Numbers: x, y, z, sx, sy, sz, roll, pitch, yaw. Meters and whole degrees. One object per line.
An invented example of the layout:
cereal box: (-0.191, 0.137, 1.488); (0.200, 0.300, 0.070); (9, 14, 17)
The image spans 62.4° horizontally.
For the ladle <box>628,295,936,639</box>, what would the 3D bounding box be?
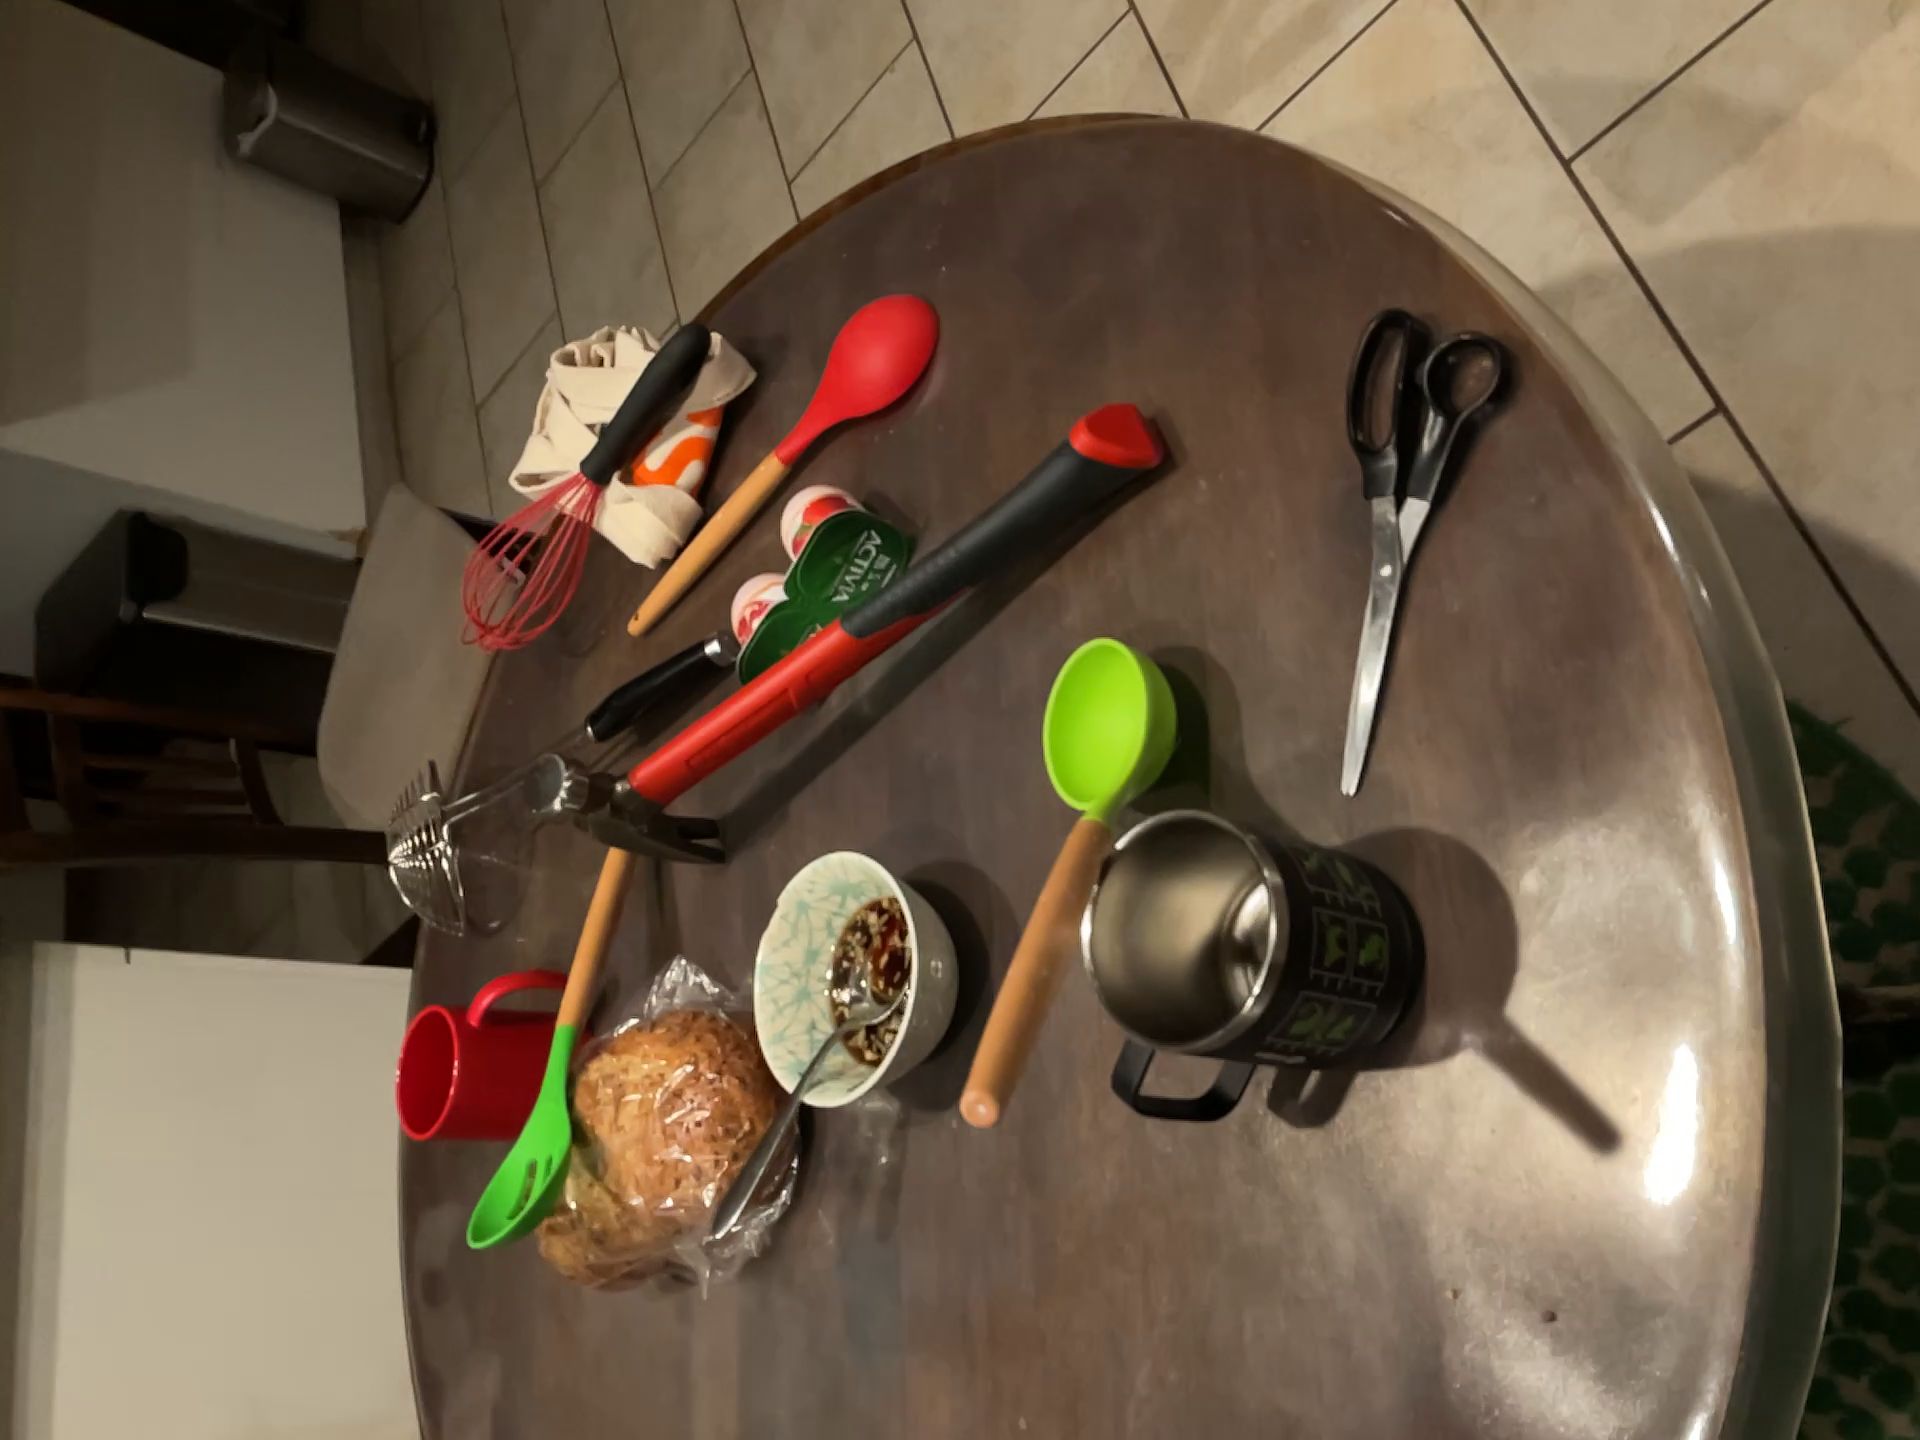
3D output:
ladle: (-0.123, -0.147, 0.983); (0.315, 0.031, 0.069); (-42, 51, 34)

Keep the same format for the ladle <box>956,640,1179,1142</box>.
ladle: (0.035, 0.051, 0.599); (0.062, 0.320, 0.078); (27, 117, 4)

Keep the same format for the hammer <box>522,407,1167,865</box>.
hammer: (-0.049, -0.034, 0.839); (0.386, 0.143, 0.038); (-33, 58, 23)

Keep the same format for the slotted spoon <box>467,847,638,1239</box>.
slotted spoon: (-0.220, 0.156, 0.925); (0.070, 0.031, 0.314); (-27, 38, 34)

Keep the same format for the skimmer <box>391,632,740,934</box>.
skimmer: (-0.267, 0.035, 1.083); (0.363, 0.090, 0.127); (-28, 67, 27)

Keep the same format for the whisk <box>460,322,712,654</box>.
whisk: (-0.250, -0.149, 1.044); (0.296, 0.073, 0.073); (-46, 49, 28)
